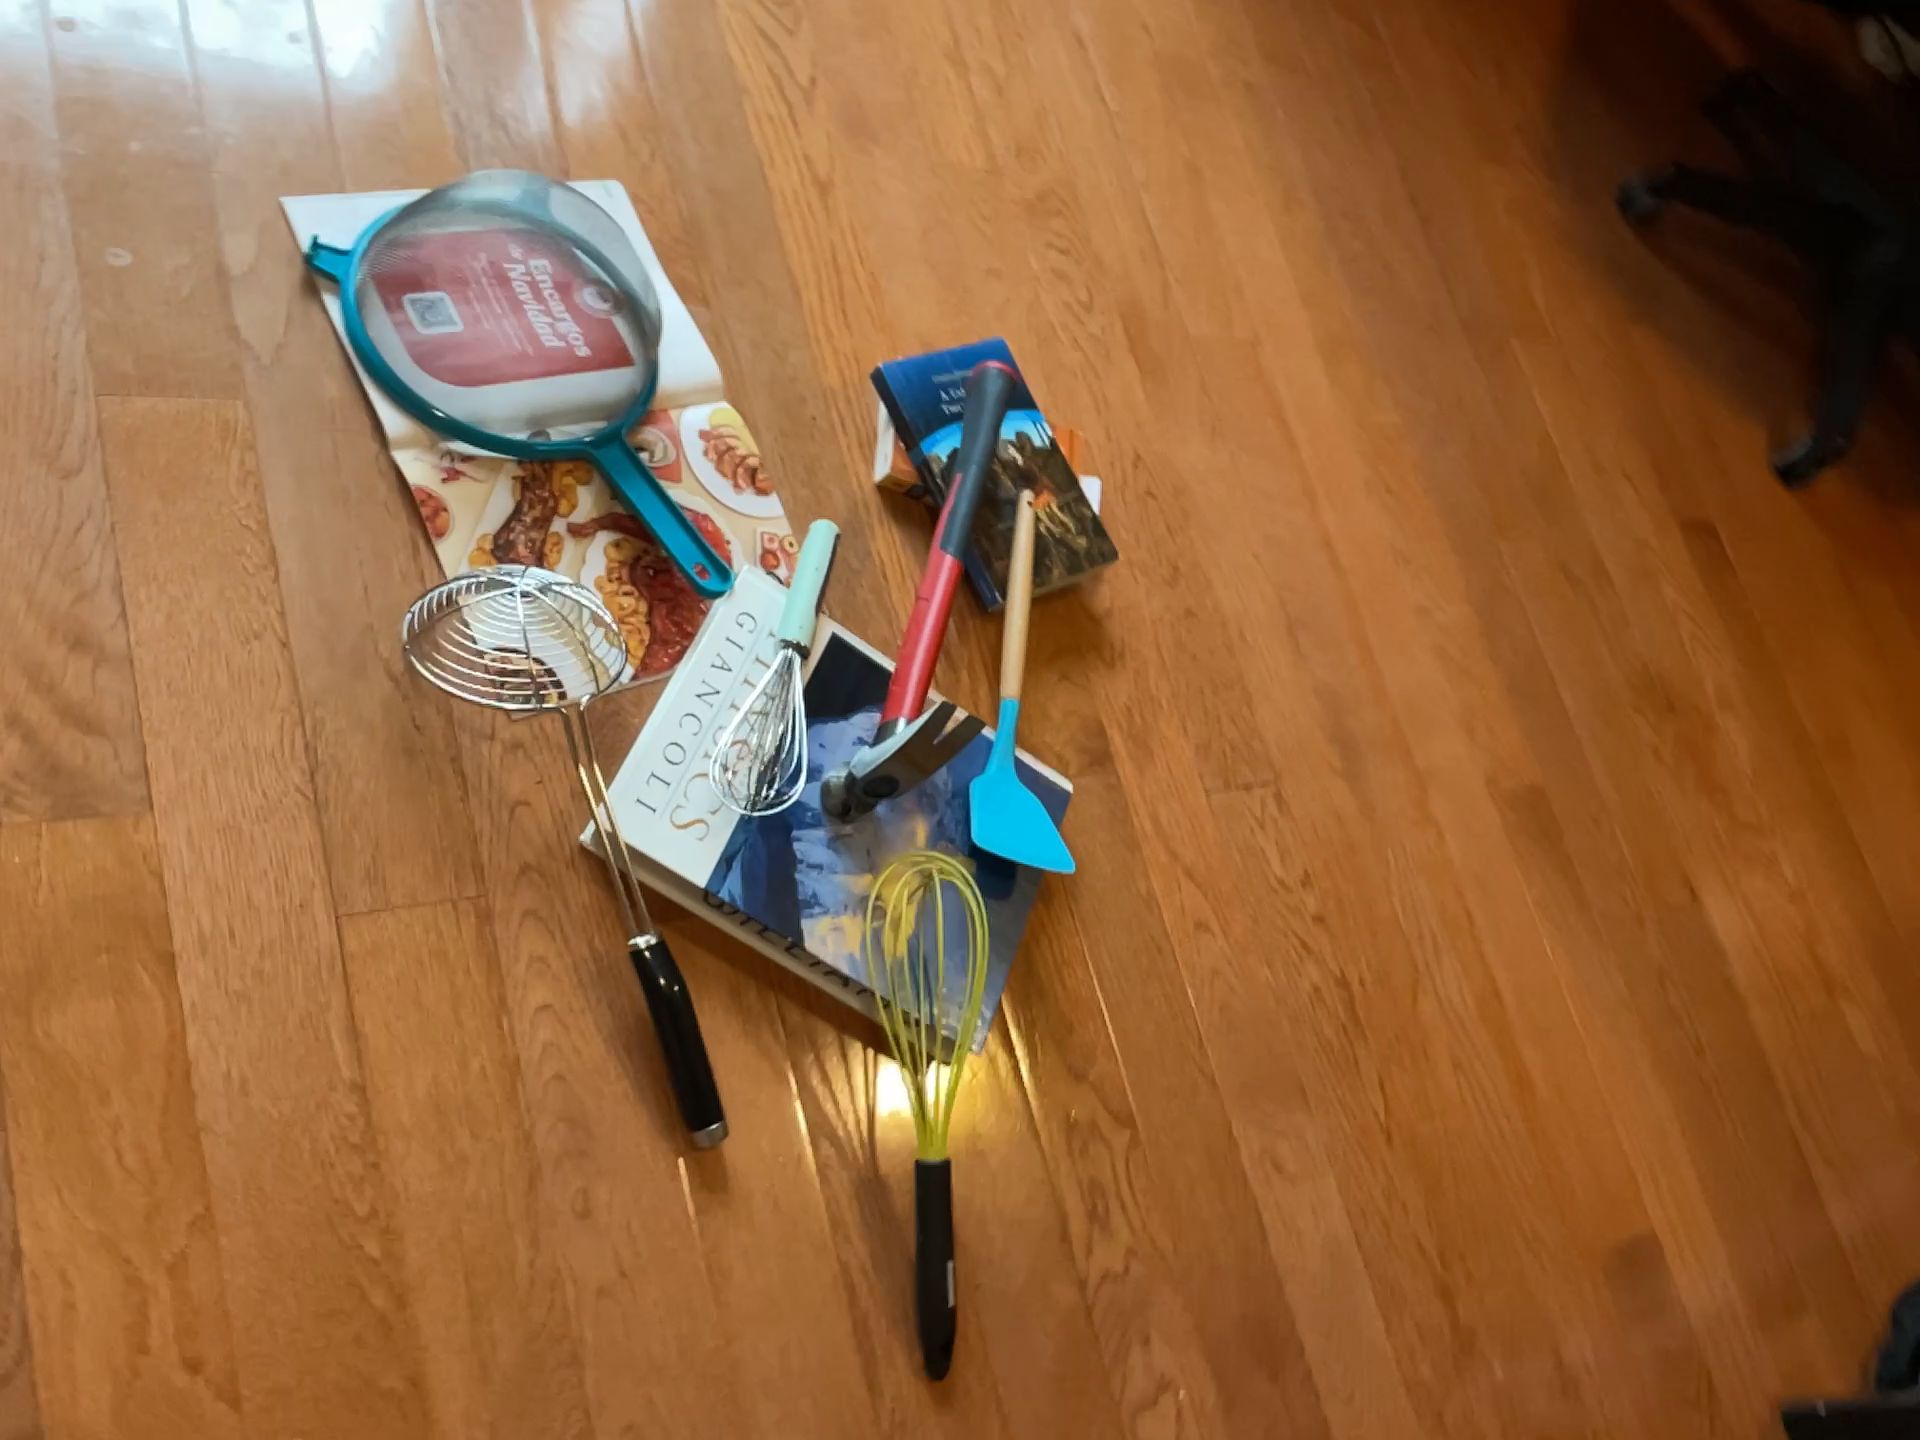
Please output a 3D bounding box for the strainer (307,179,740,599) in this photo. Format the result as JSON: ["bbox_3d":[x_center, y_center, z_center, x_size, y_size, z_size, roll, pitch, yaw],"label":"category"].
[{"bbox_3d":[-0.242,-0.230,1.028,0.340,0.095,0.211,50,49,7],"label":"strainer"}]

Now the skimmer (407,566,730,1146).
[{"bbox_3d":[-0.219,0.077,0.945,0.127,0.090,0.363,-18,89,-41],"label":"skimmer"}]

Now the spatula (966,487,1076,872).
[{"bbox_3d":[0.044,-0.039,1.119,0.082,0.044,0.318,19,58,-23],"label":"spatula"}]

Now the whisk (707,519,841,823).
[{"bbox_3d":[-0.110,-0.038,1.022,0.059,0.057,0.247,8,53,4],"label":"whisk"}]

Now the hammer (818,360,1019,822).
[{"bbox_3d":[-0.001,-0.115,1.077,0.038,0.143,0.387,31,51,-21],"label":"hammer"}]

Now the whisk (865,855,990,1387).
[{"bbox_3d":[-0.017,0.238,0.959,0.080,0.067,0.312,6,78,-48],"label":"whisk"}]
